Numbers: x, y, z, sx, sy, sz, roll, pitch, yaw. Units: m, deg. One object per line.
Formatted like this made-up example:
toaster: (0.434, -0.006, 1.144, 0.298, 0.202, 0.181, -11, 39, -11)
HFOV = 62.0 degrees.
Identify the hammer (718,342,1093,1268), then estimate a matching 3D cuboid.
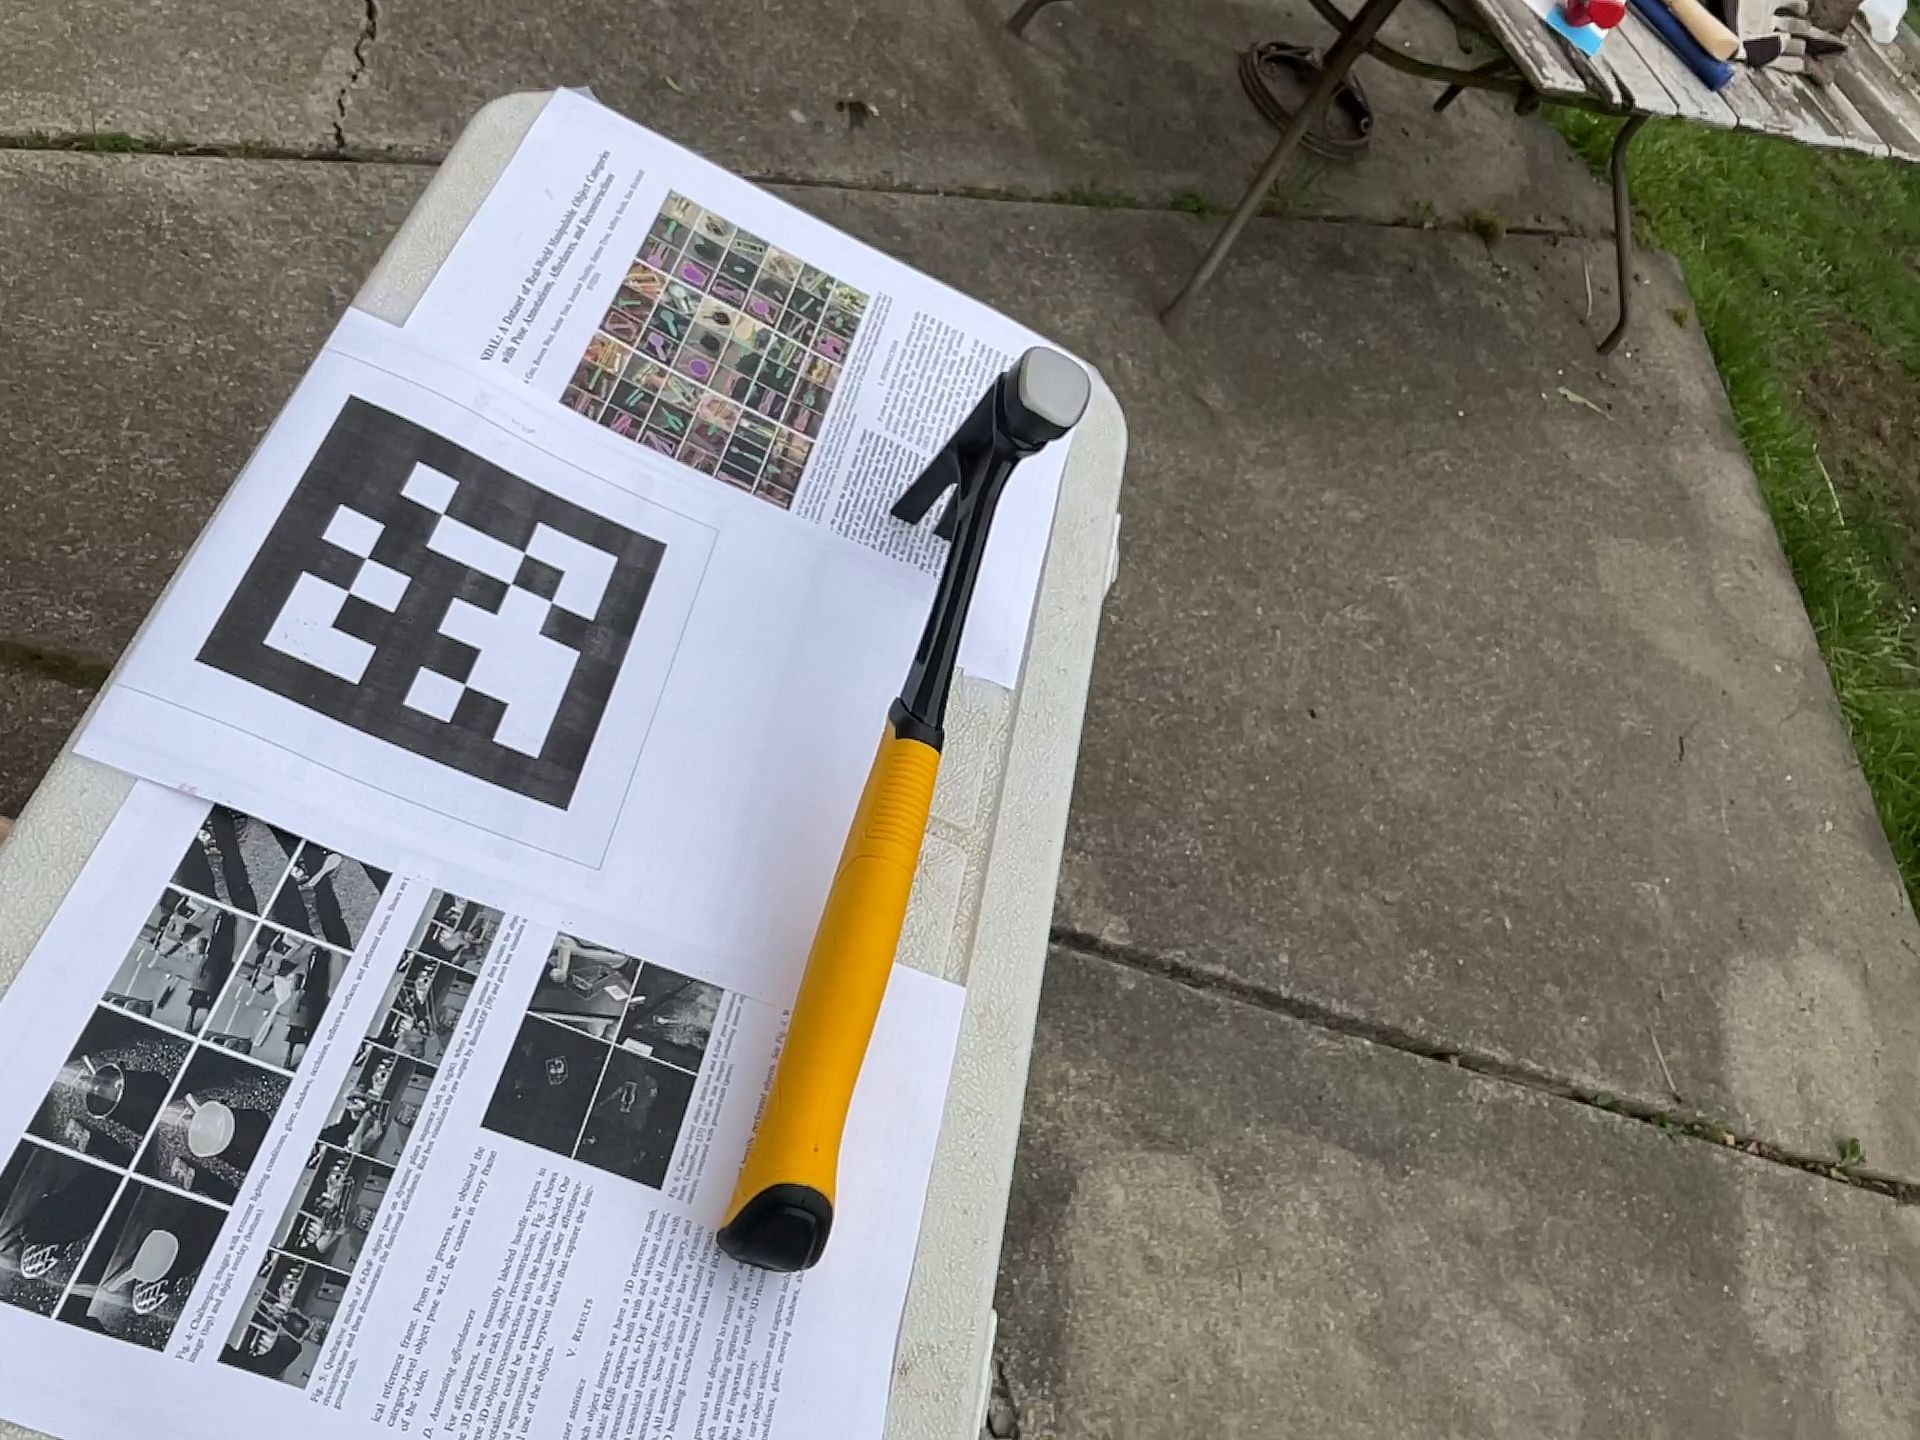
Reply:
hammer: (-0.025, 0.024, 0.574, 0.034, 0.127, 0.337, 24, 61, -15)
